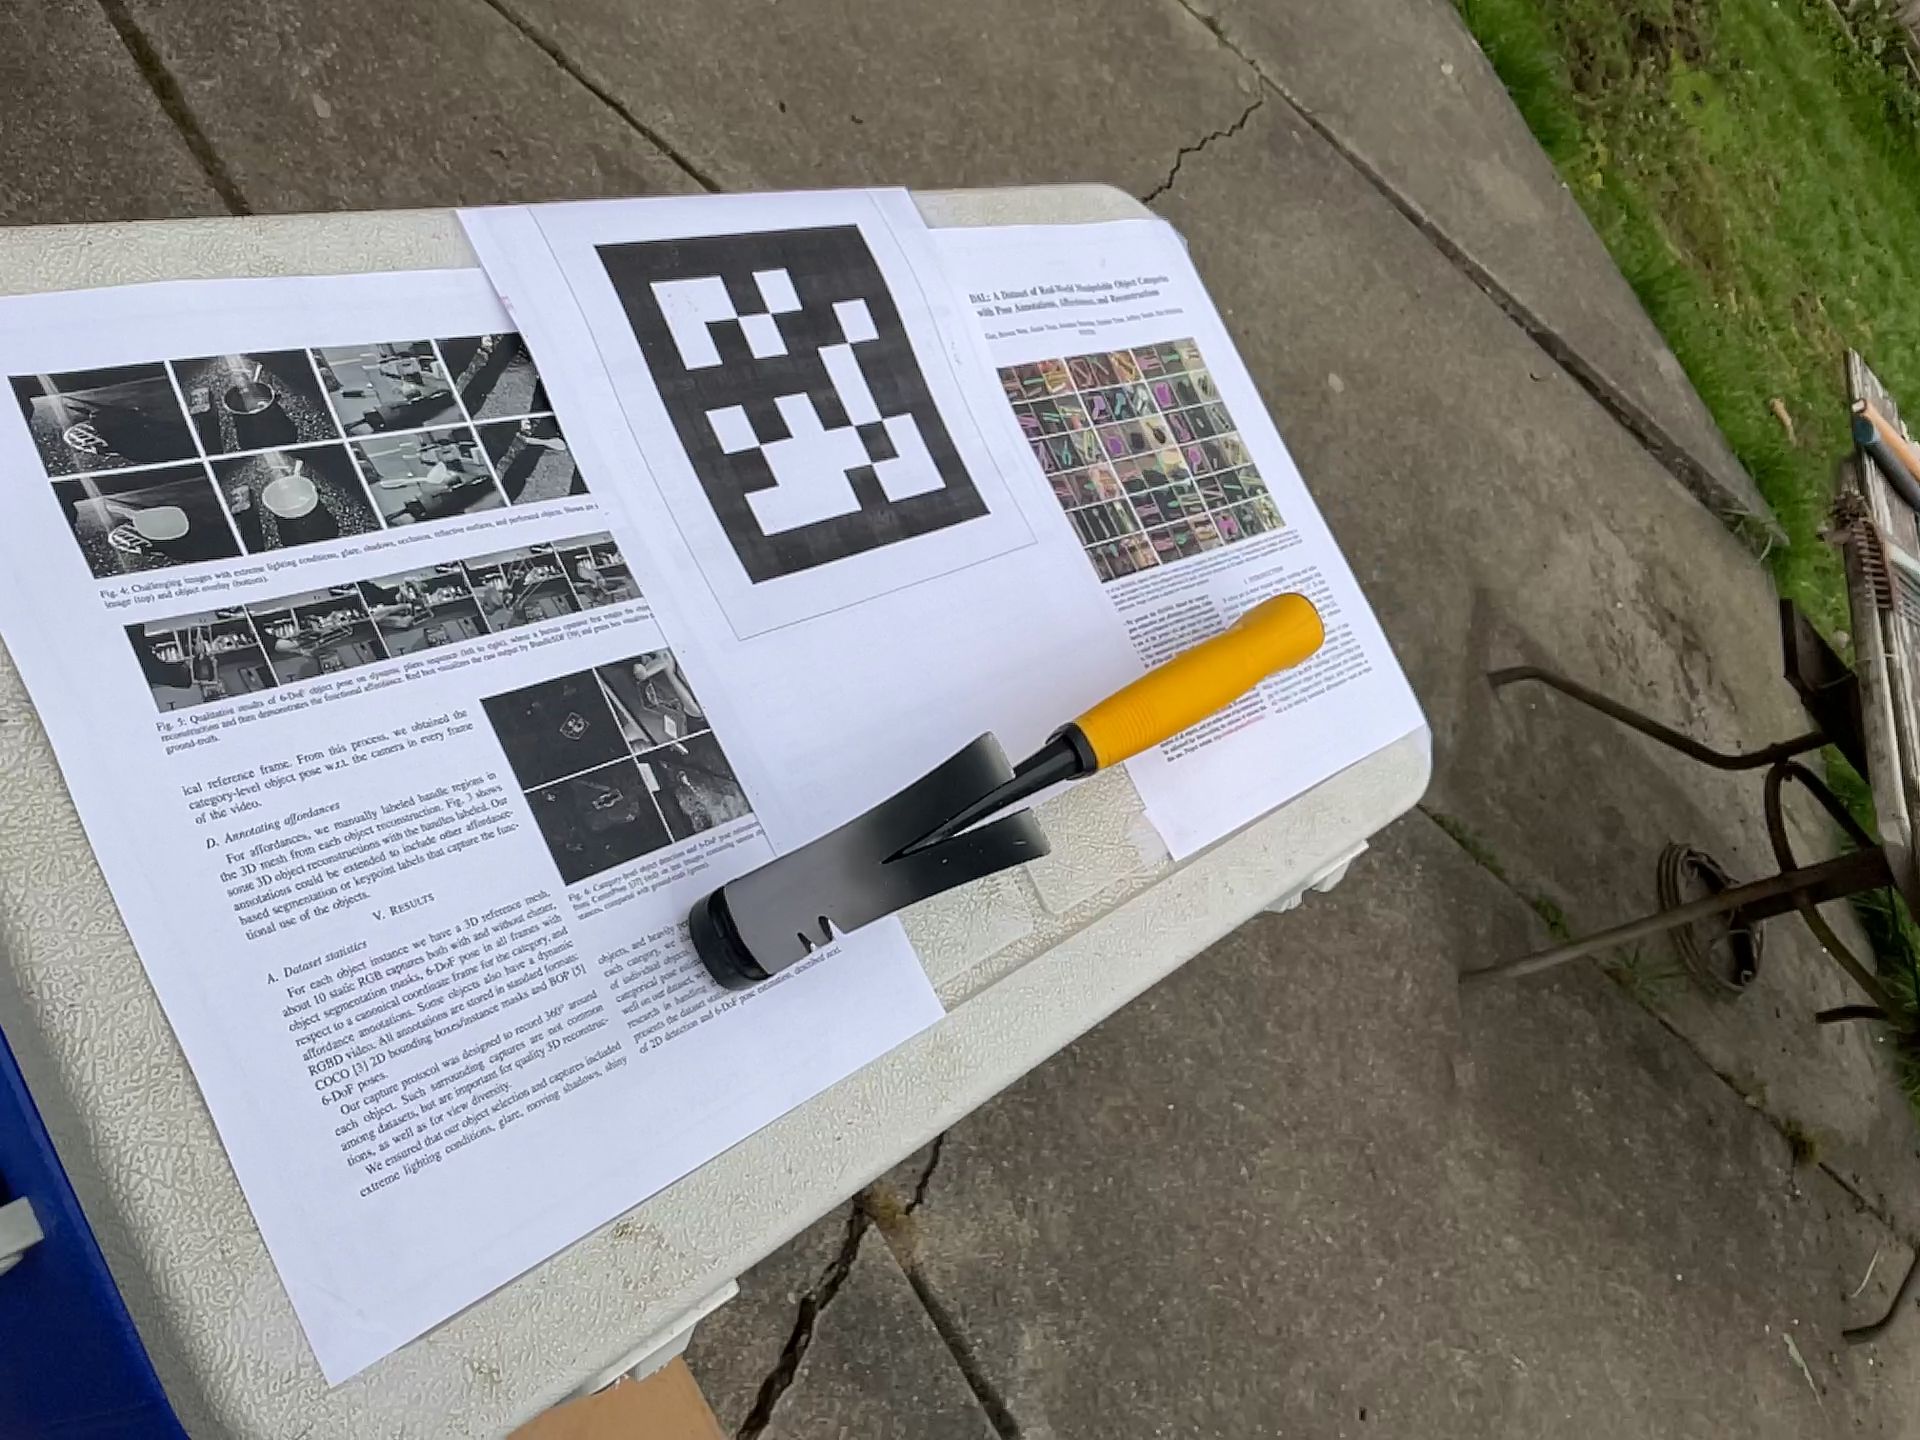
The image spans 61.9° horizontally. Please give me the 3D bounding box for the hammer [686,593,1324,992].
[{"bbox_3d":[0.056,0.001,0.561,0.336,0.127,0.034,-26,87,-52],"label":"hammer"}]
